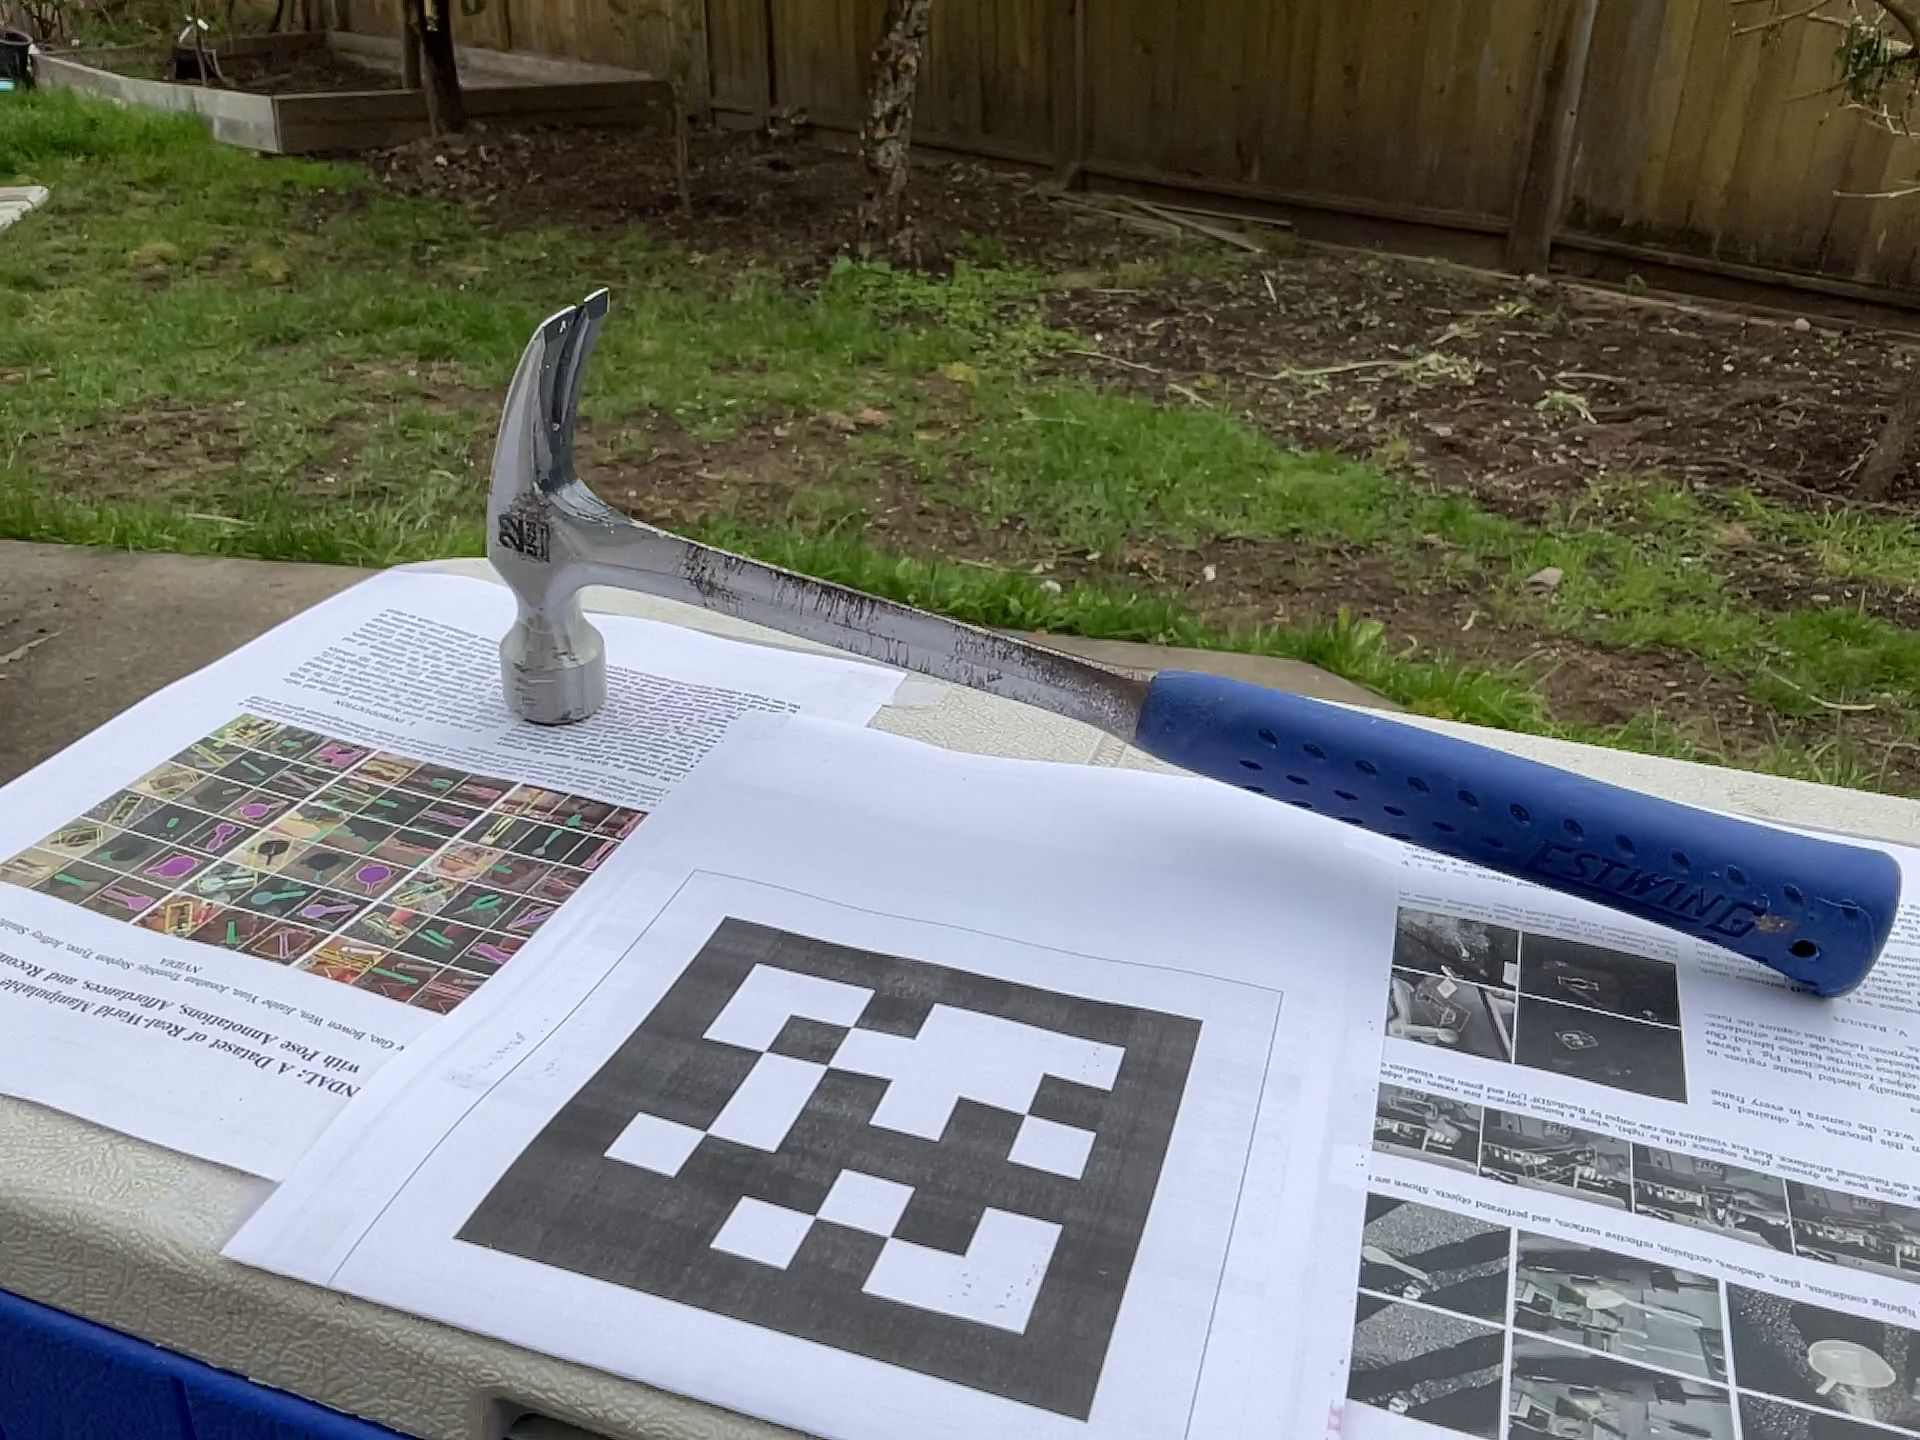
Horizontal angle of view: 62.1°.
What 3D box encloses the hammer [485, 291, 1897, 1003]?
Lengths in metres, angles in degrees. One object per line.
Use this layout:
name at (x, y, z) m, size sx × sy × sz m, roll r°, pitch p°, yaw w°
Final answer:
hammer at (0.043, -0.009, 0.451) m, size 0.405 × 0.144 × 0.035 m, roll 17°, pitch 37°, yaw 14°
